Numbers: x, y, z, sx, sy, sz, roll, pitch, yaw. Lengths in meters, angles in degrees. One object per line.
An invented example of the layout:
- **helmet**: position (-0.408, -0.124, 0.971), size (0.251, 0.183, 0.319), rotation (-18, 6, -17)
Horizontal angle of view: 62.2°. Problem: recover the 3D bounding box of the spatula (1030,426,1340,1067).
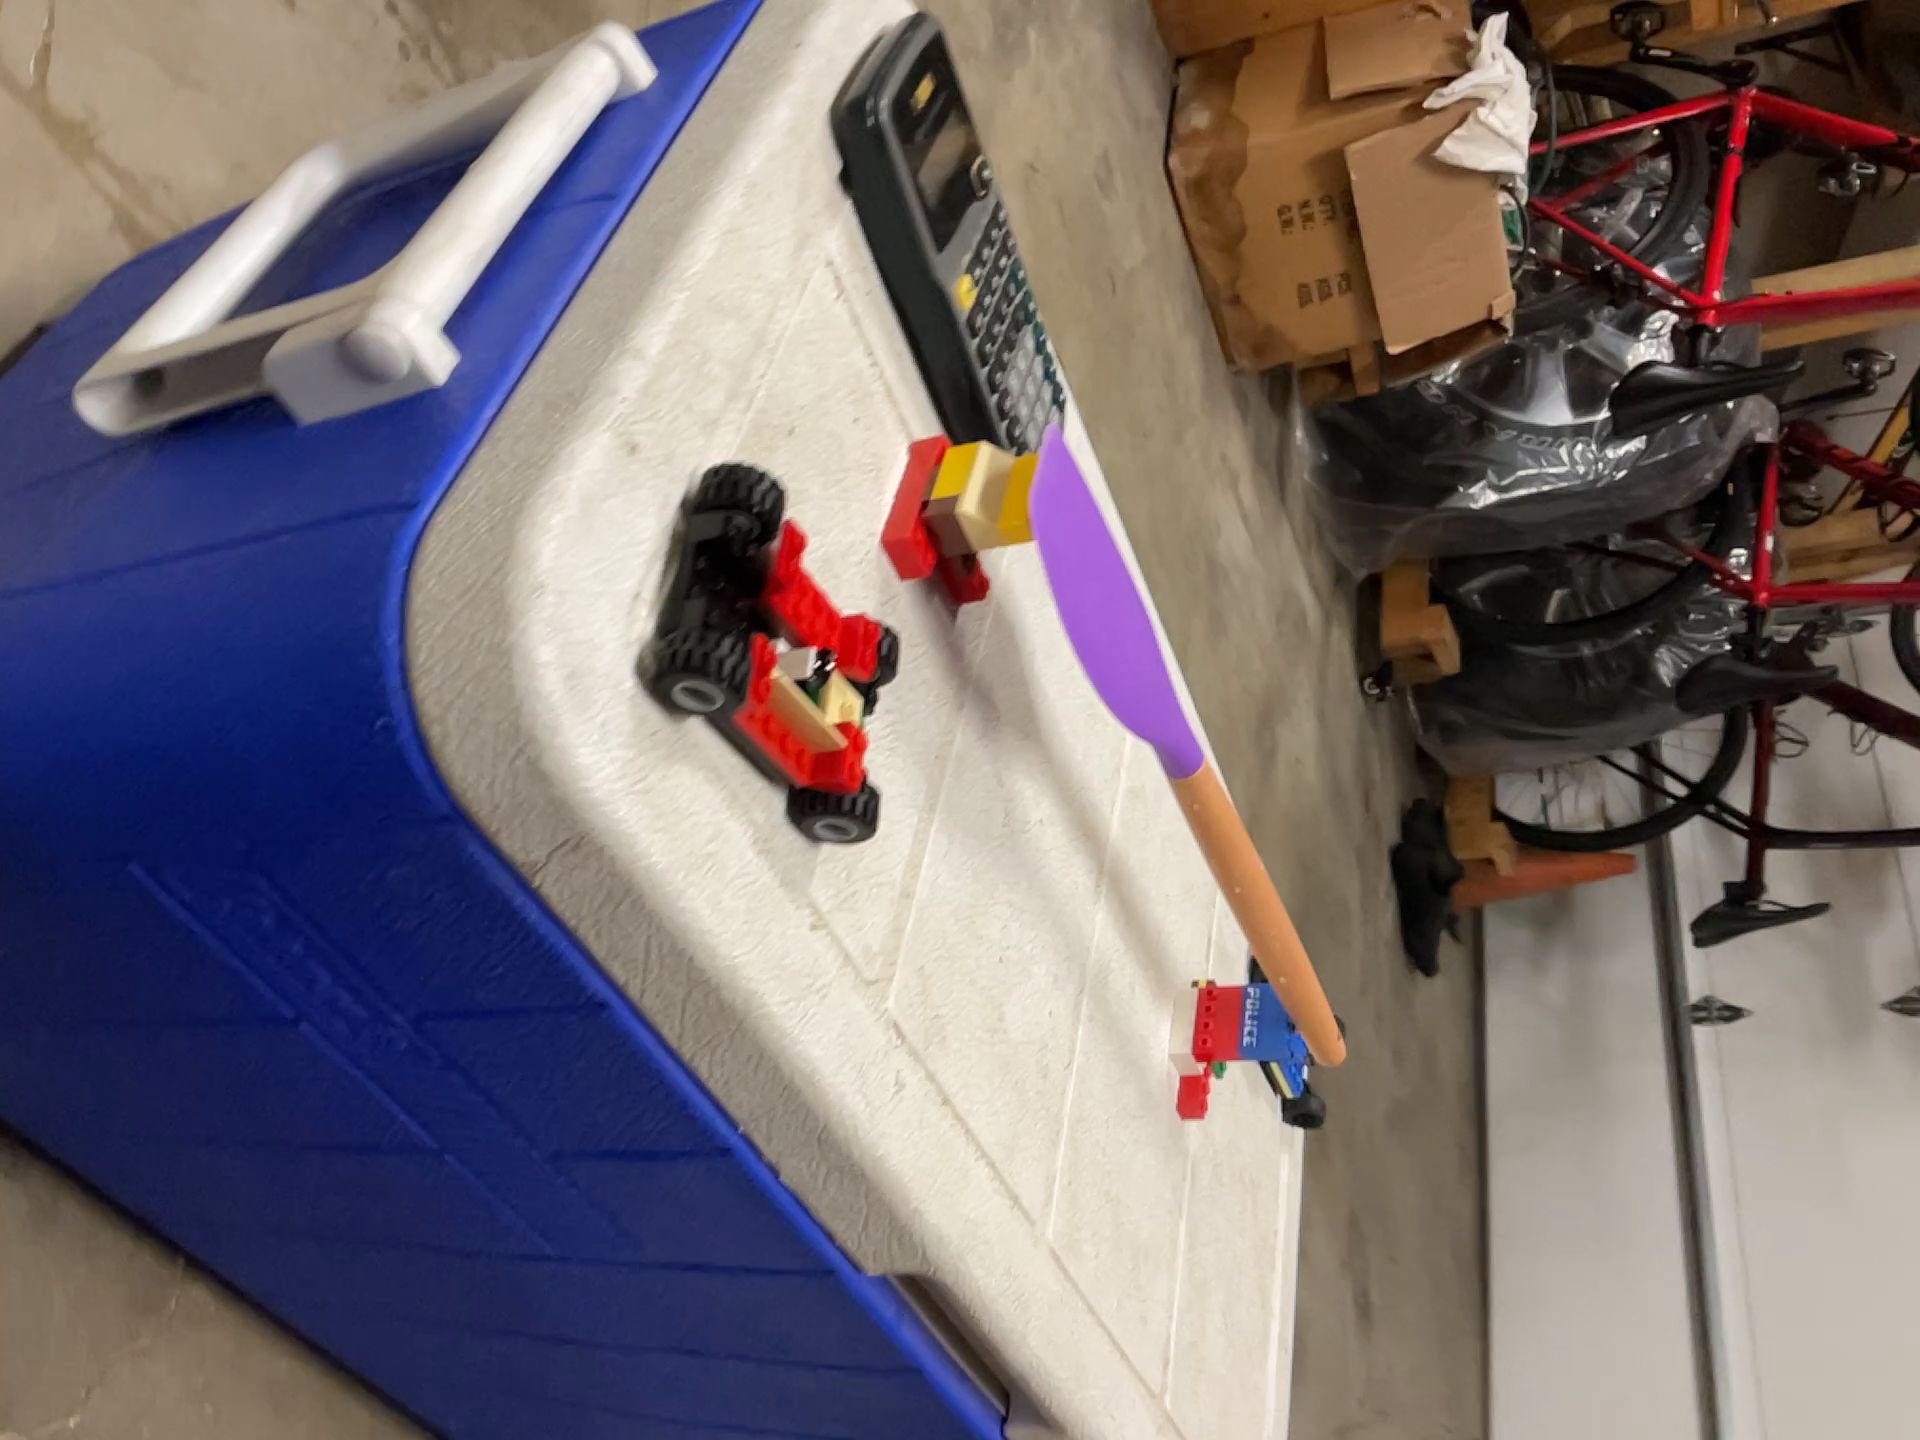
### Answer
- **spatula**: position (0.085, 0.034, 0.550), size (0.316, 0.018, 0.060), rotation (58, 33, -40)
